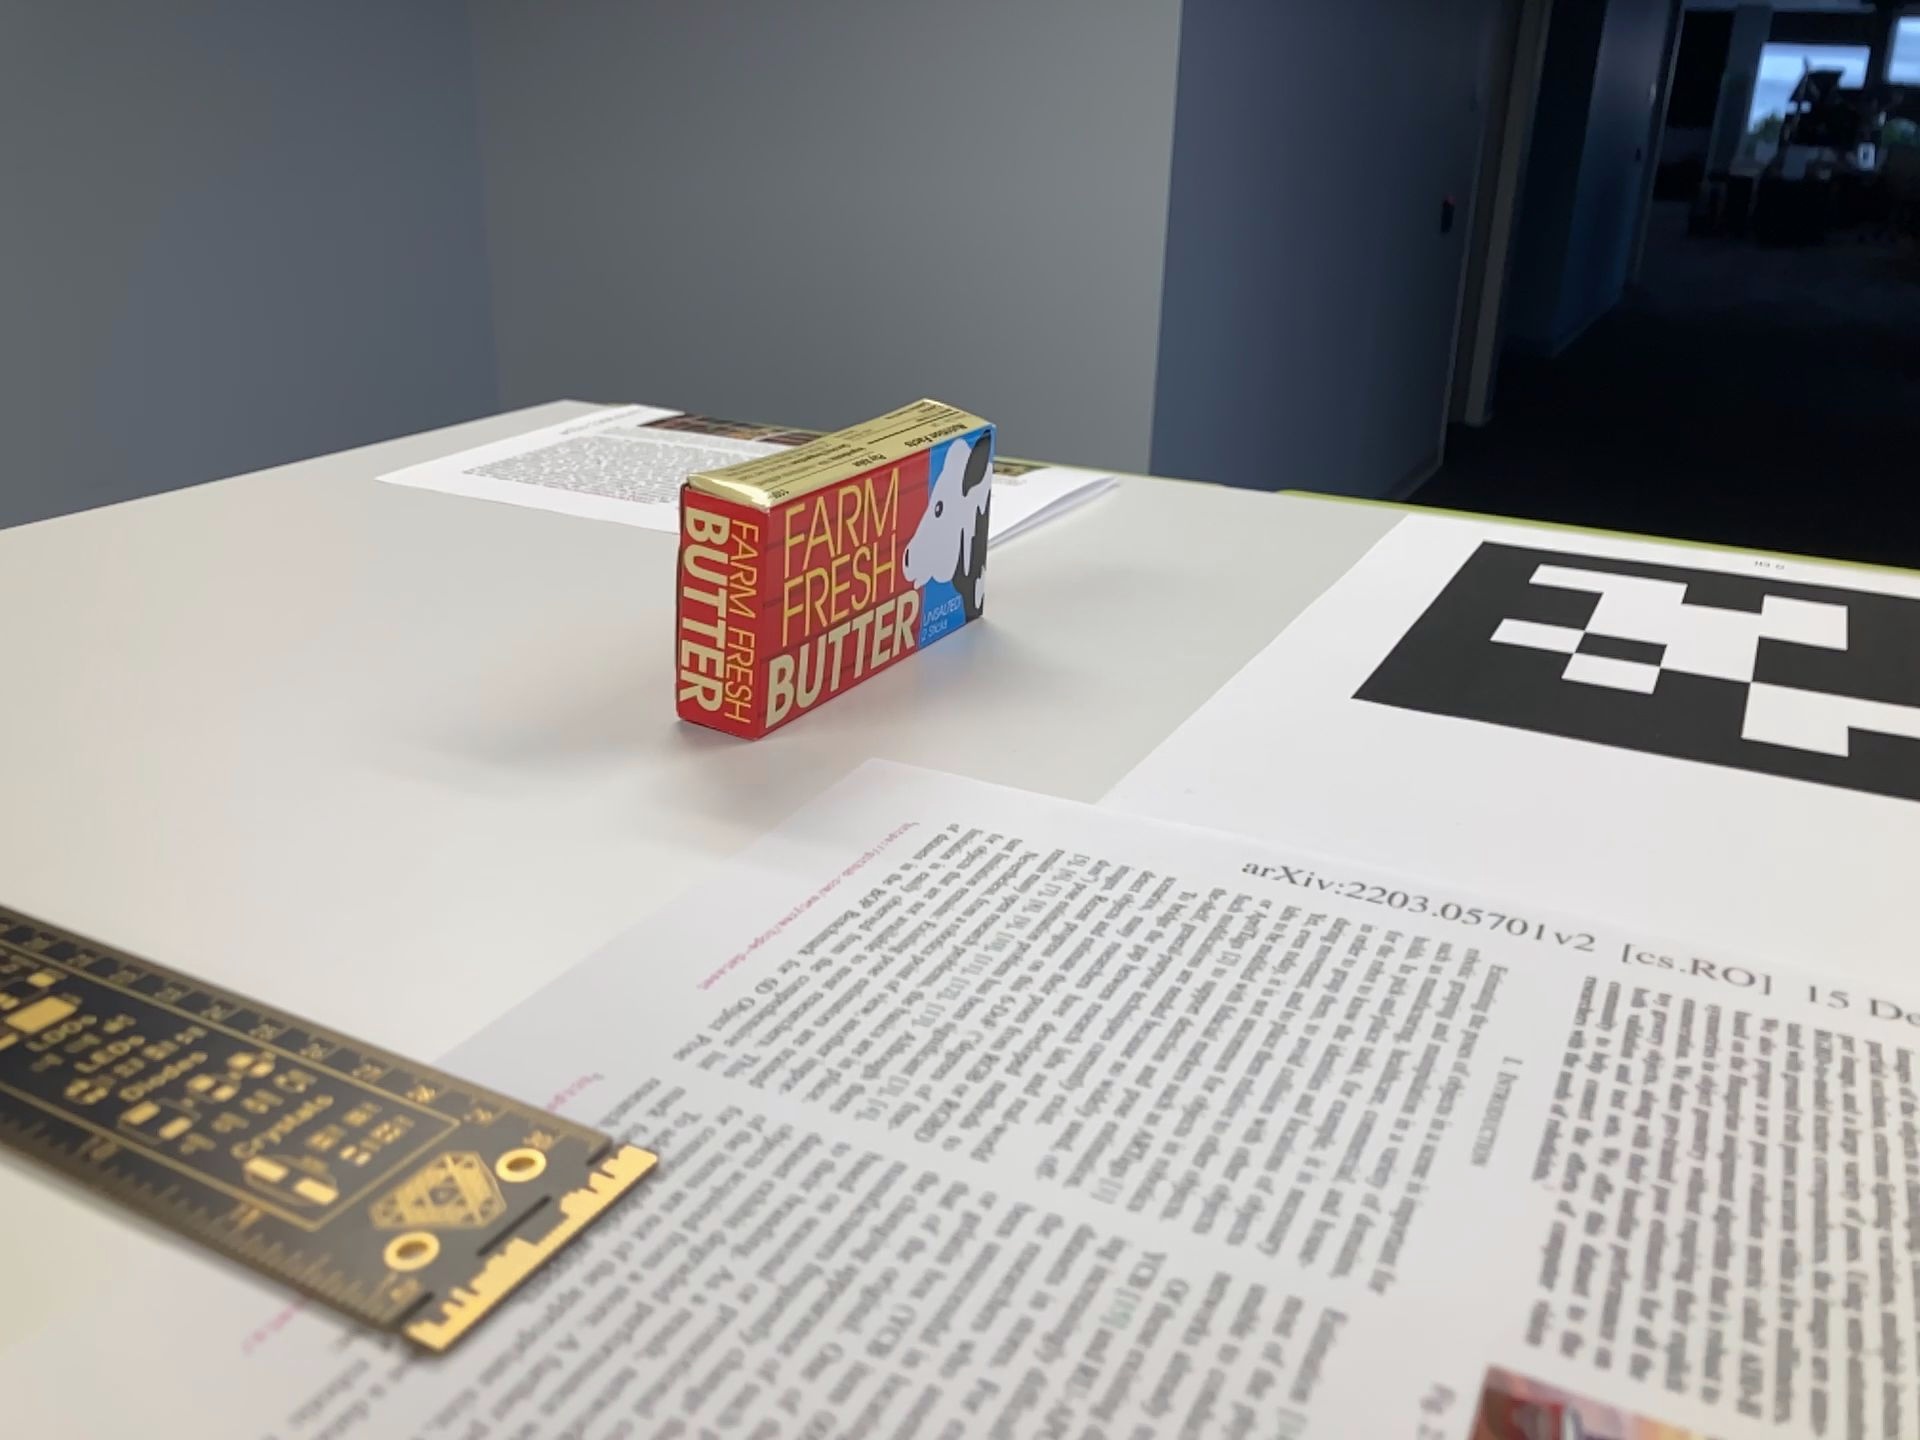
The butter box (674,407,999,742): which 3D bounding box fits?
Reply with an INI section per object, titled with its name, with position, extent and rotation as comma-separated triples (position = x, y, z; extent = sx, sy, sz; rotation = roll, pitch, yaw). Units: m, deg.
[butter box]
position = -0.026, -0.036, 0.364
extent = 0.024, 0.053, 0.103
rotation = 15, 25, 24
